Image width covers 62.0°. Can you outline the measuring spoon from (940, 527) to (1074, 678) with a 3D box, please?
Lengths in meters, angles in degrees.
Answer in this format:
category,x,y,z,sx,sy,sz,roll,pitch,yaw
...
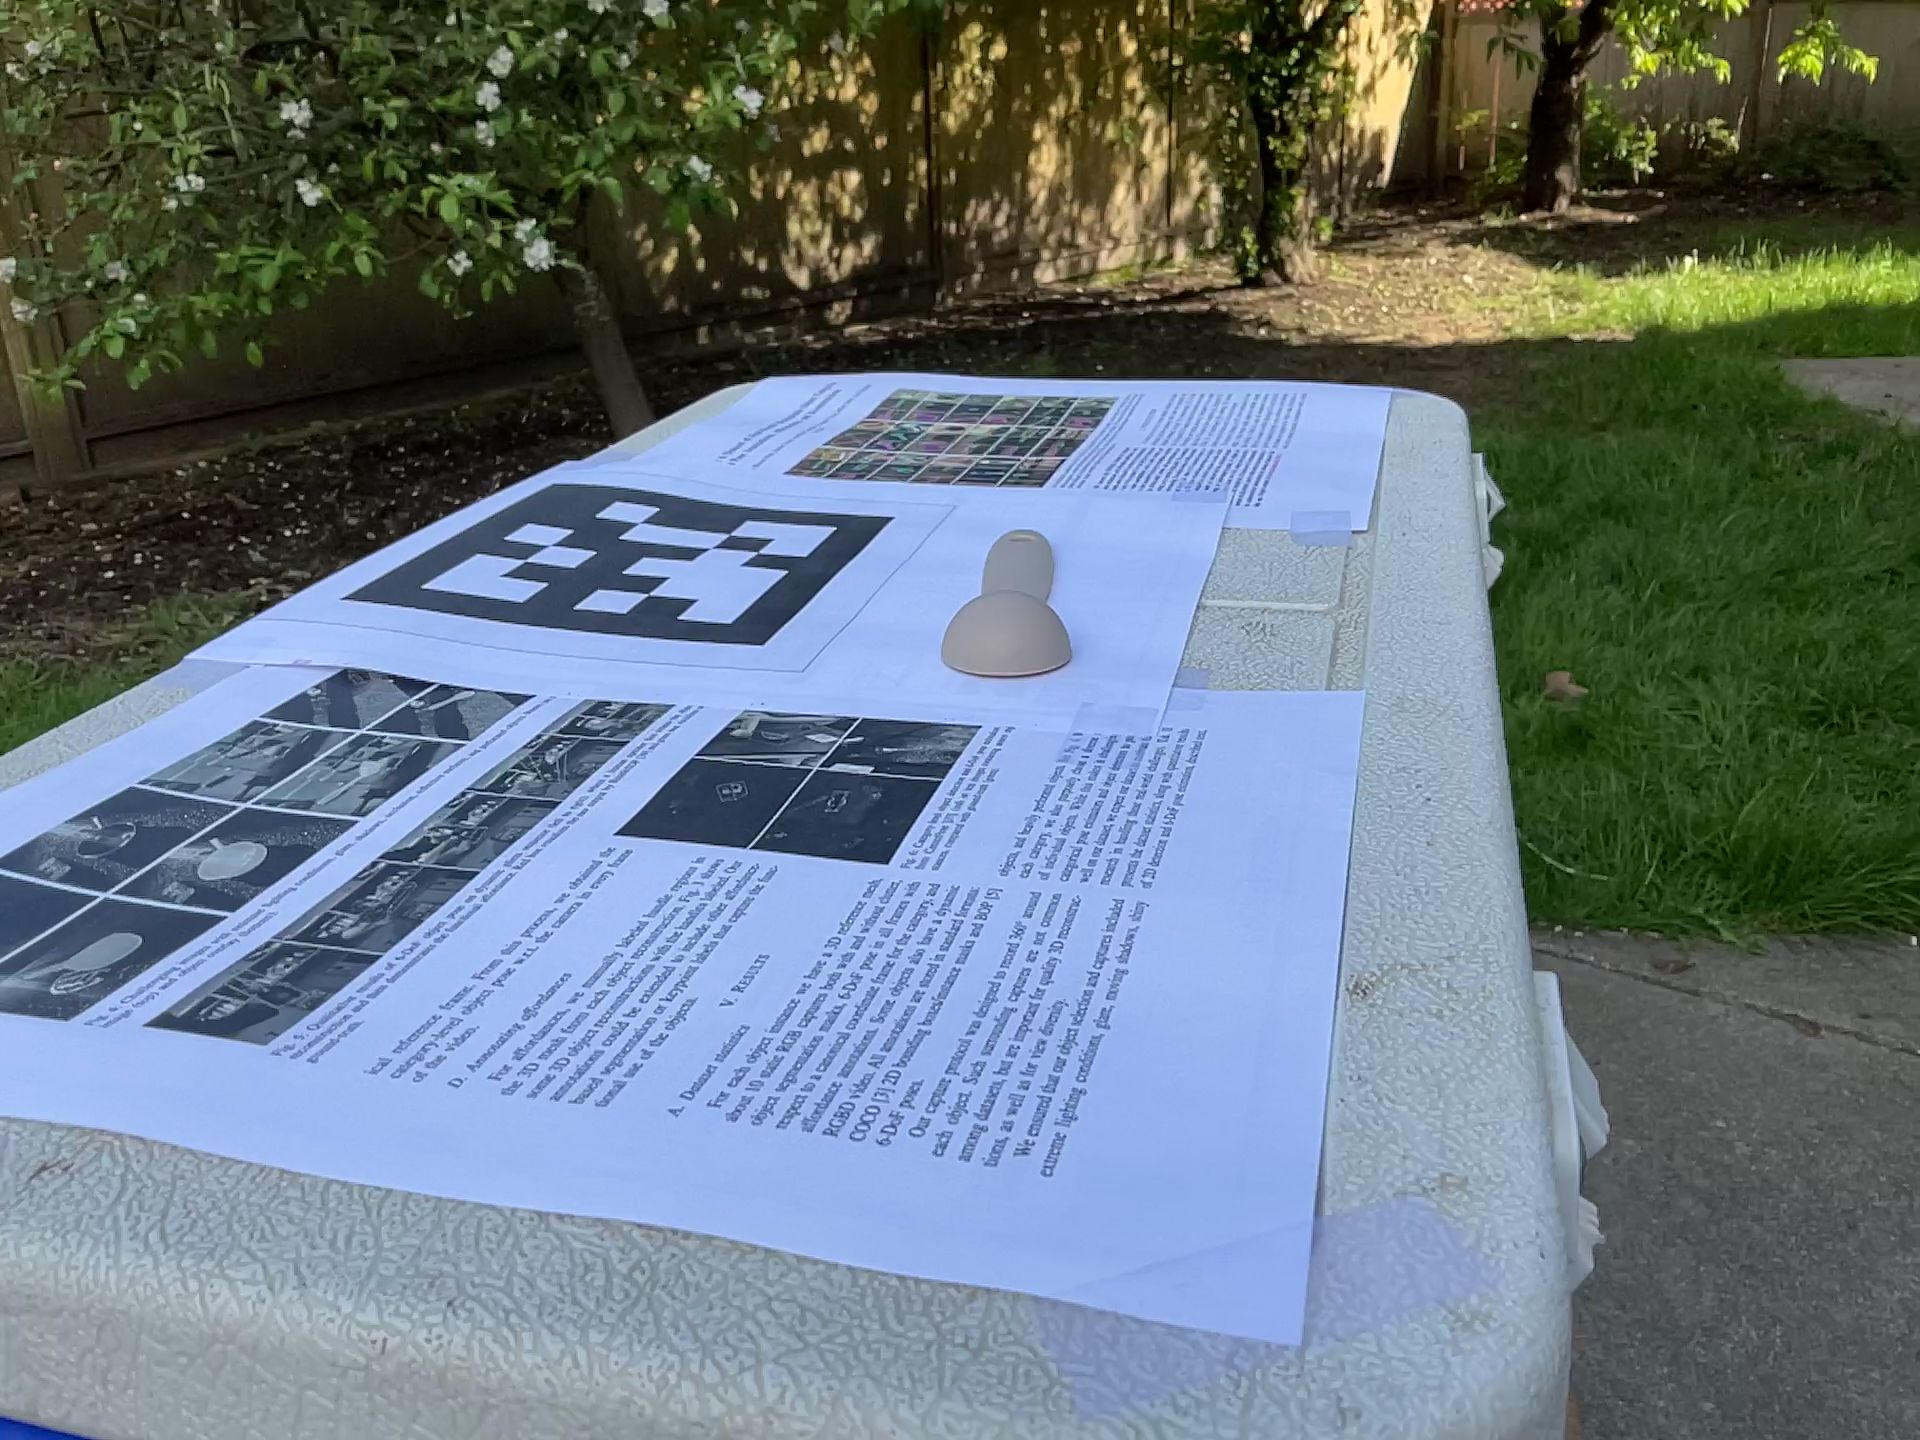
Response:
category,x,y,z,sx,sy,sz,roll,pitch,yaw
measuring spoon,0.015,-0.041,0.449,0.034,0.018,0.124,0,23,5
